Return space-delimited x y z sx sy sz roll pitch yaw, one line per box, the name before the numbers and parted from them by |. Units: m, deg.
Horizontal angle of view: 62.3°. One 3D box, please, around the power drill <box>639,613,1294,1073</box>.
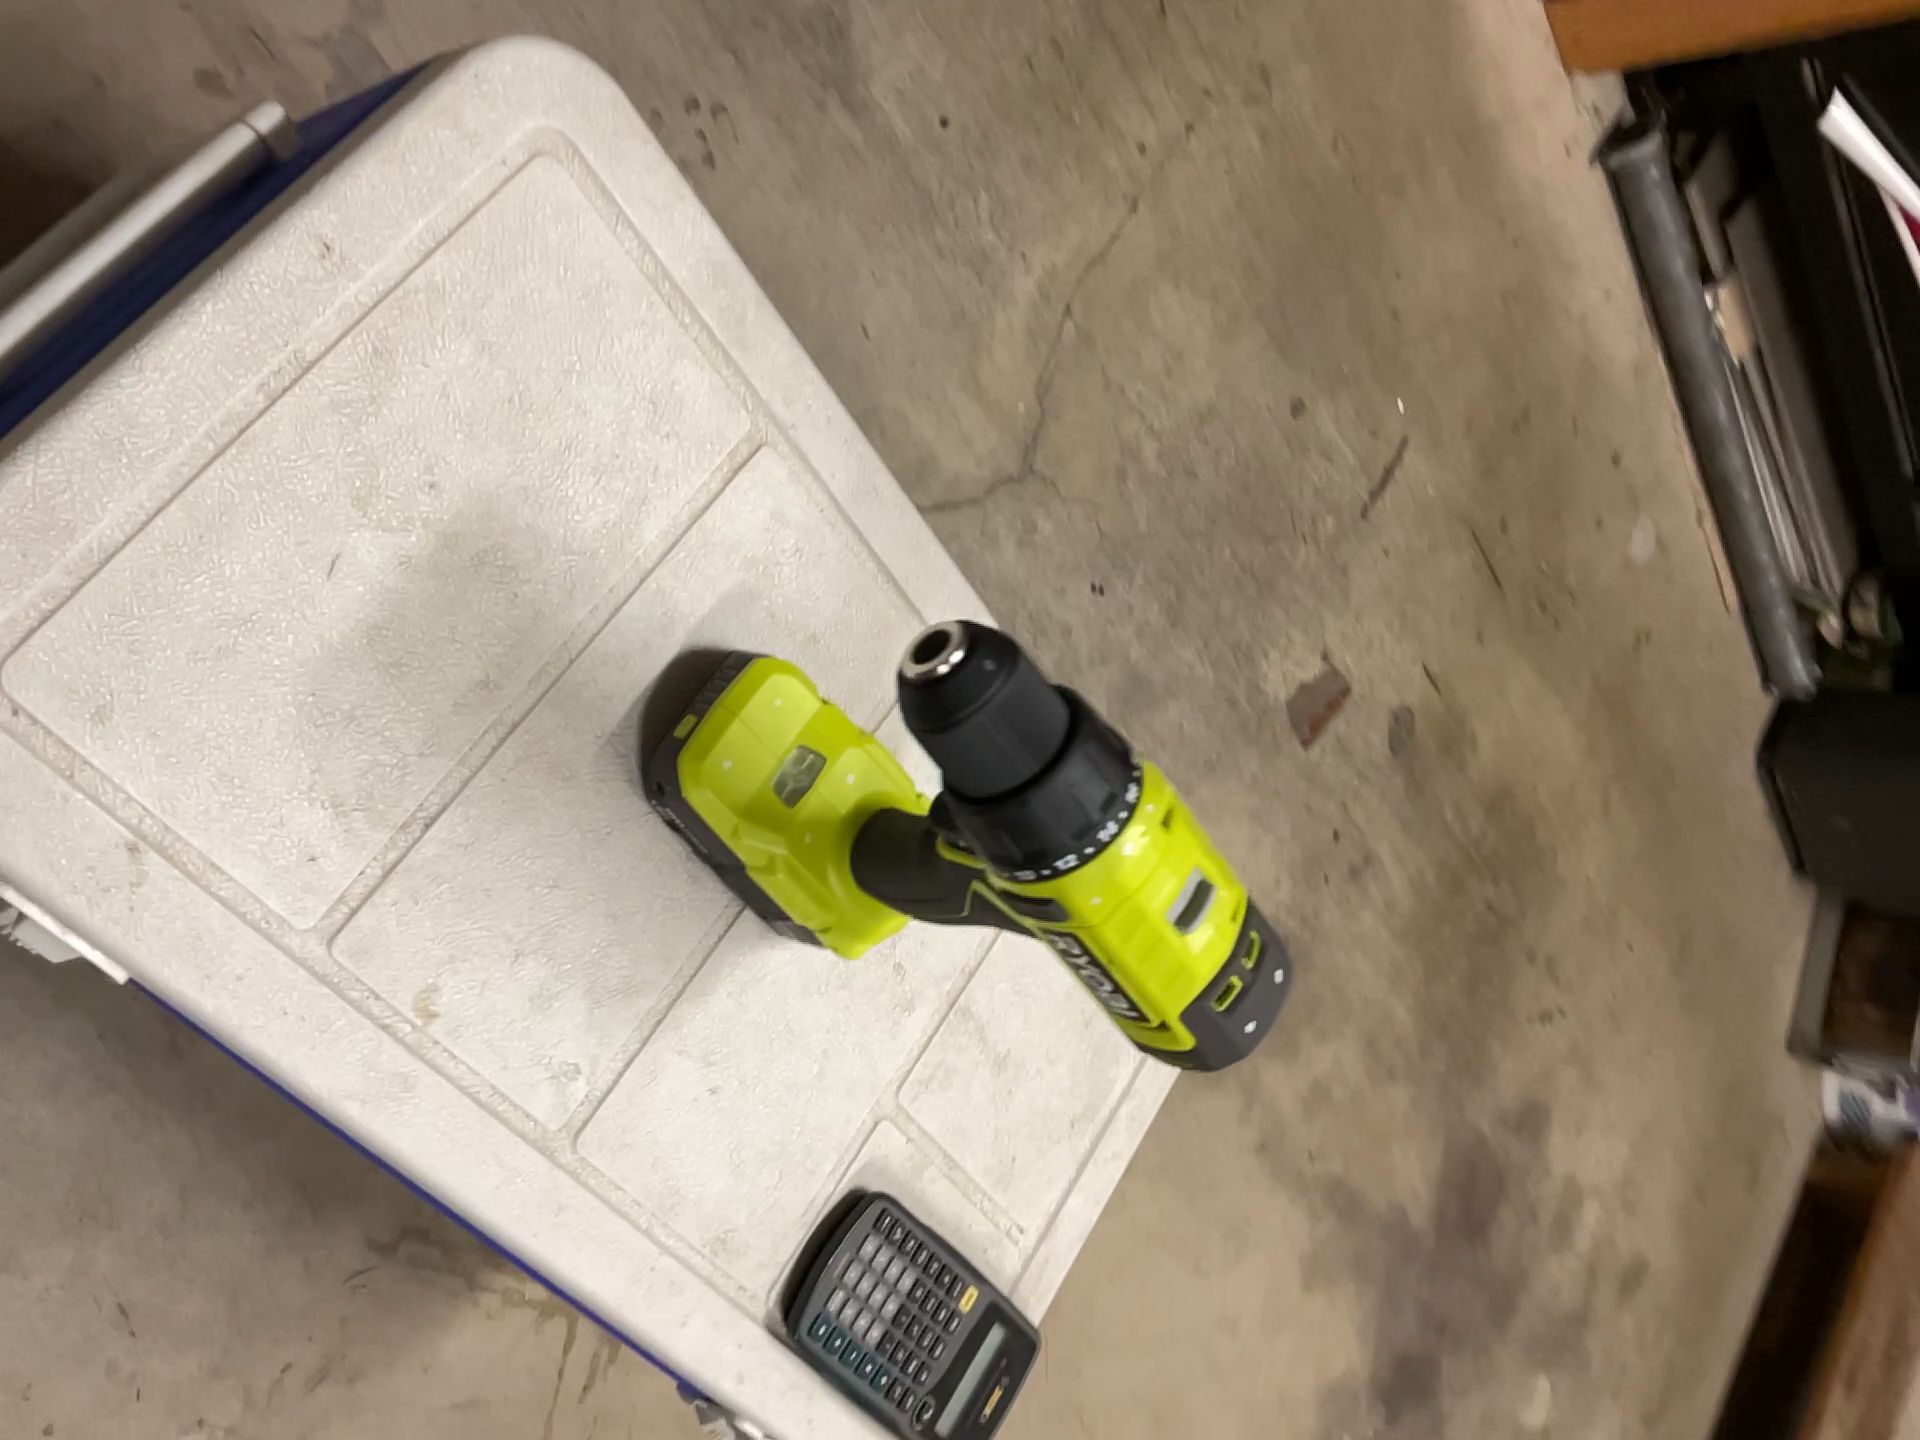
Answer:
power drill | -0.013 0.033 0.567 0.190 0.228 0.080 51 62 -33
